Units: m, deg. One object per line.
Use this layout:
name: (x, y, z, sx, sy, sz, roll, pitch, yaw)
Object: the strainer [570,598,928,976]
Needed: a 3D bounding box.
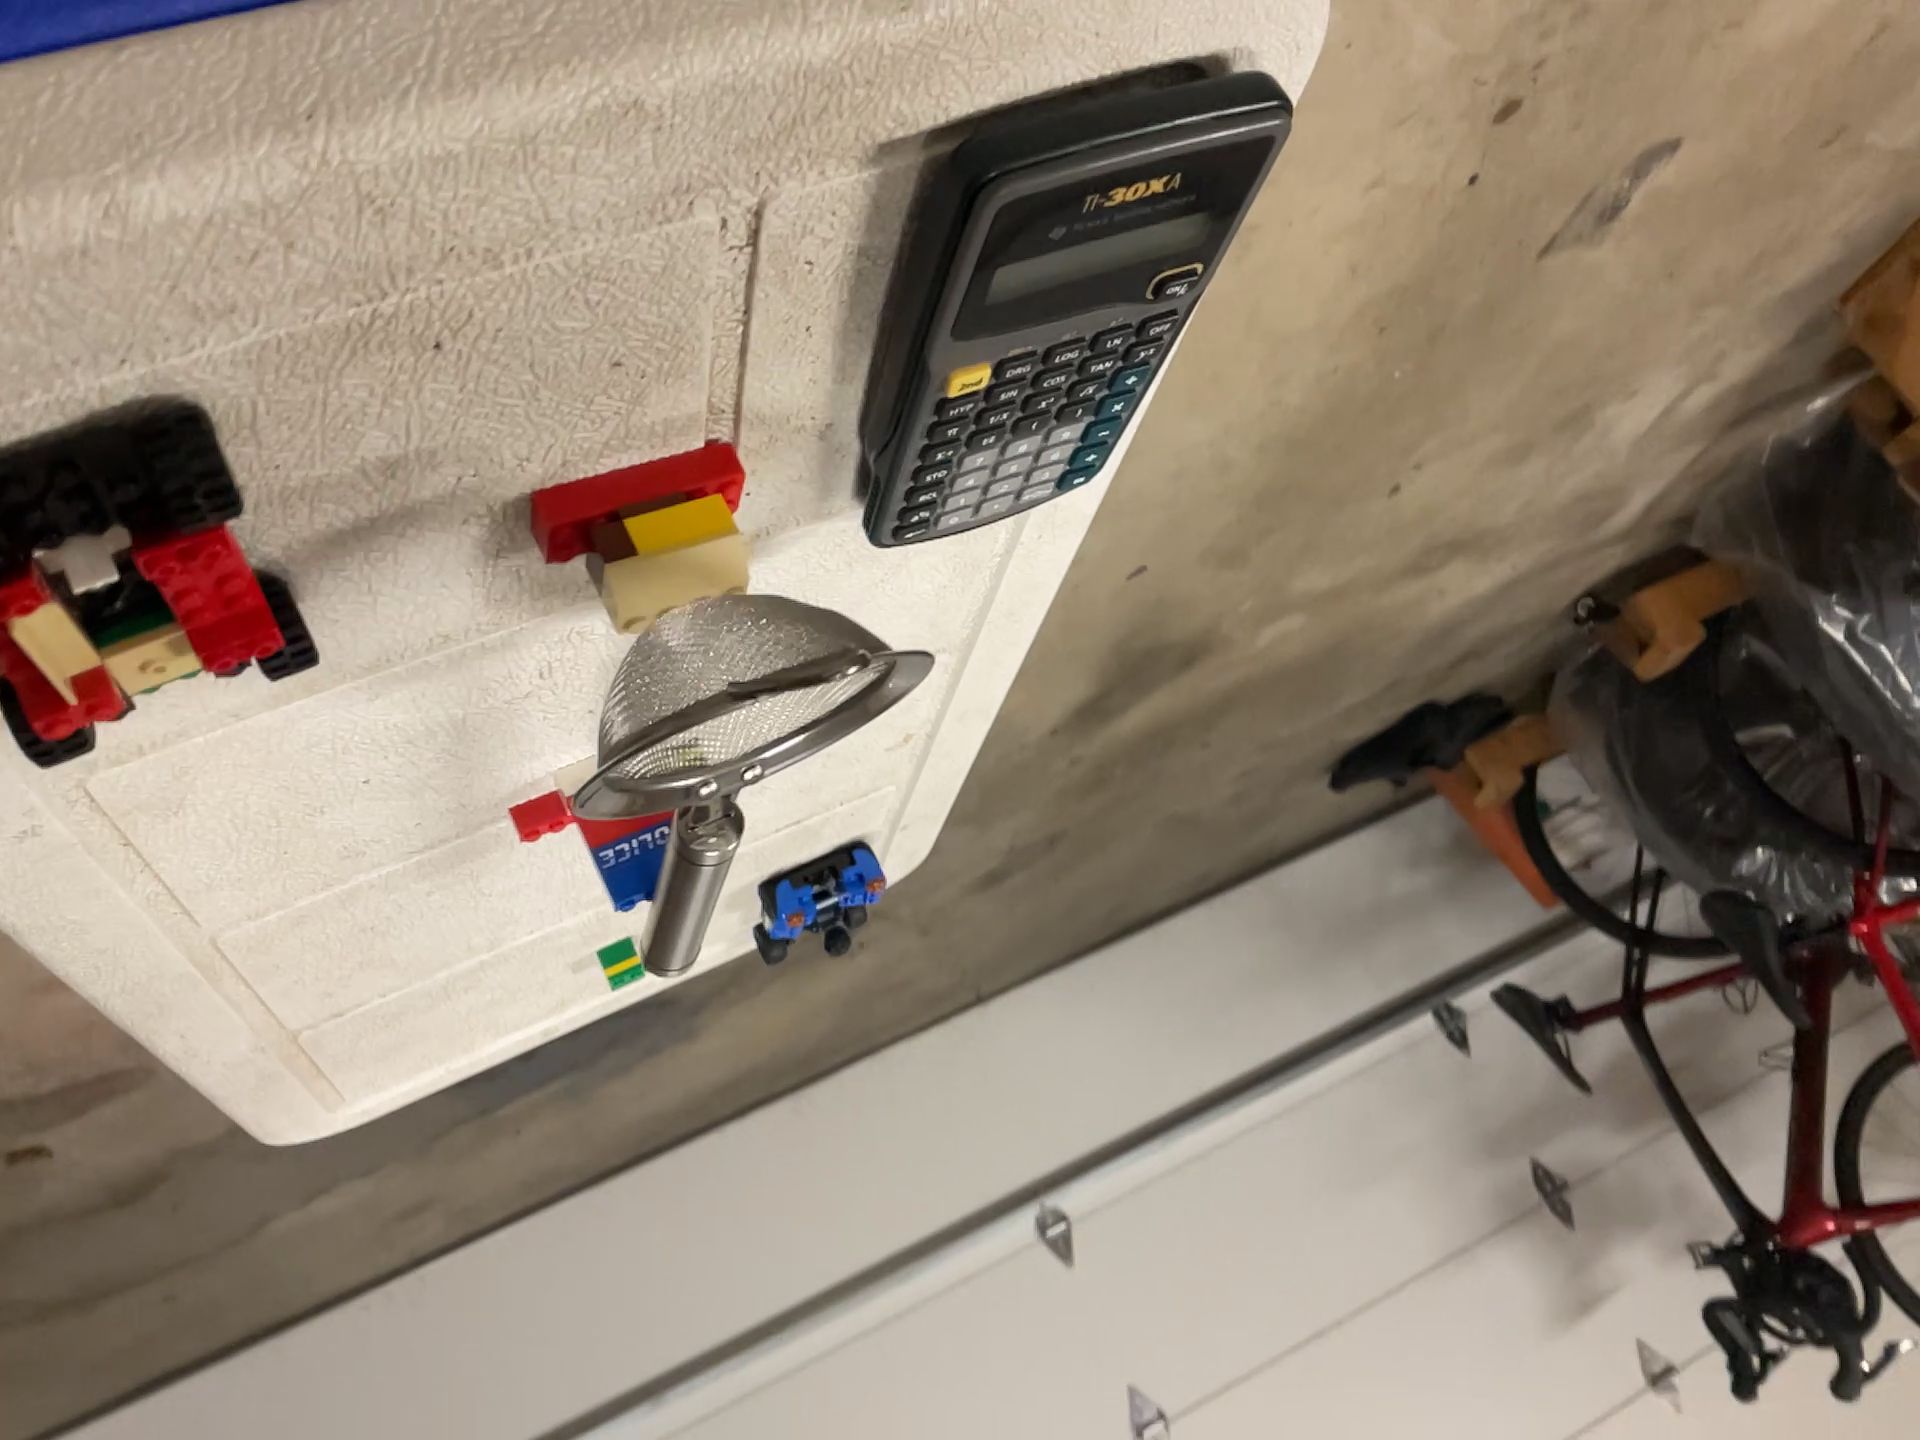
strainer: (-0.068, 0.026, 0.426, 0.087, 0.050, 0.258, -19, 161, -24)
